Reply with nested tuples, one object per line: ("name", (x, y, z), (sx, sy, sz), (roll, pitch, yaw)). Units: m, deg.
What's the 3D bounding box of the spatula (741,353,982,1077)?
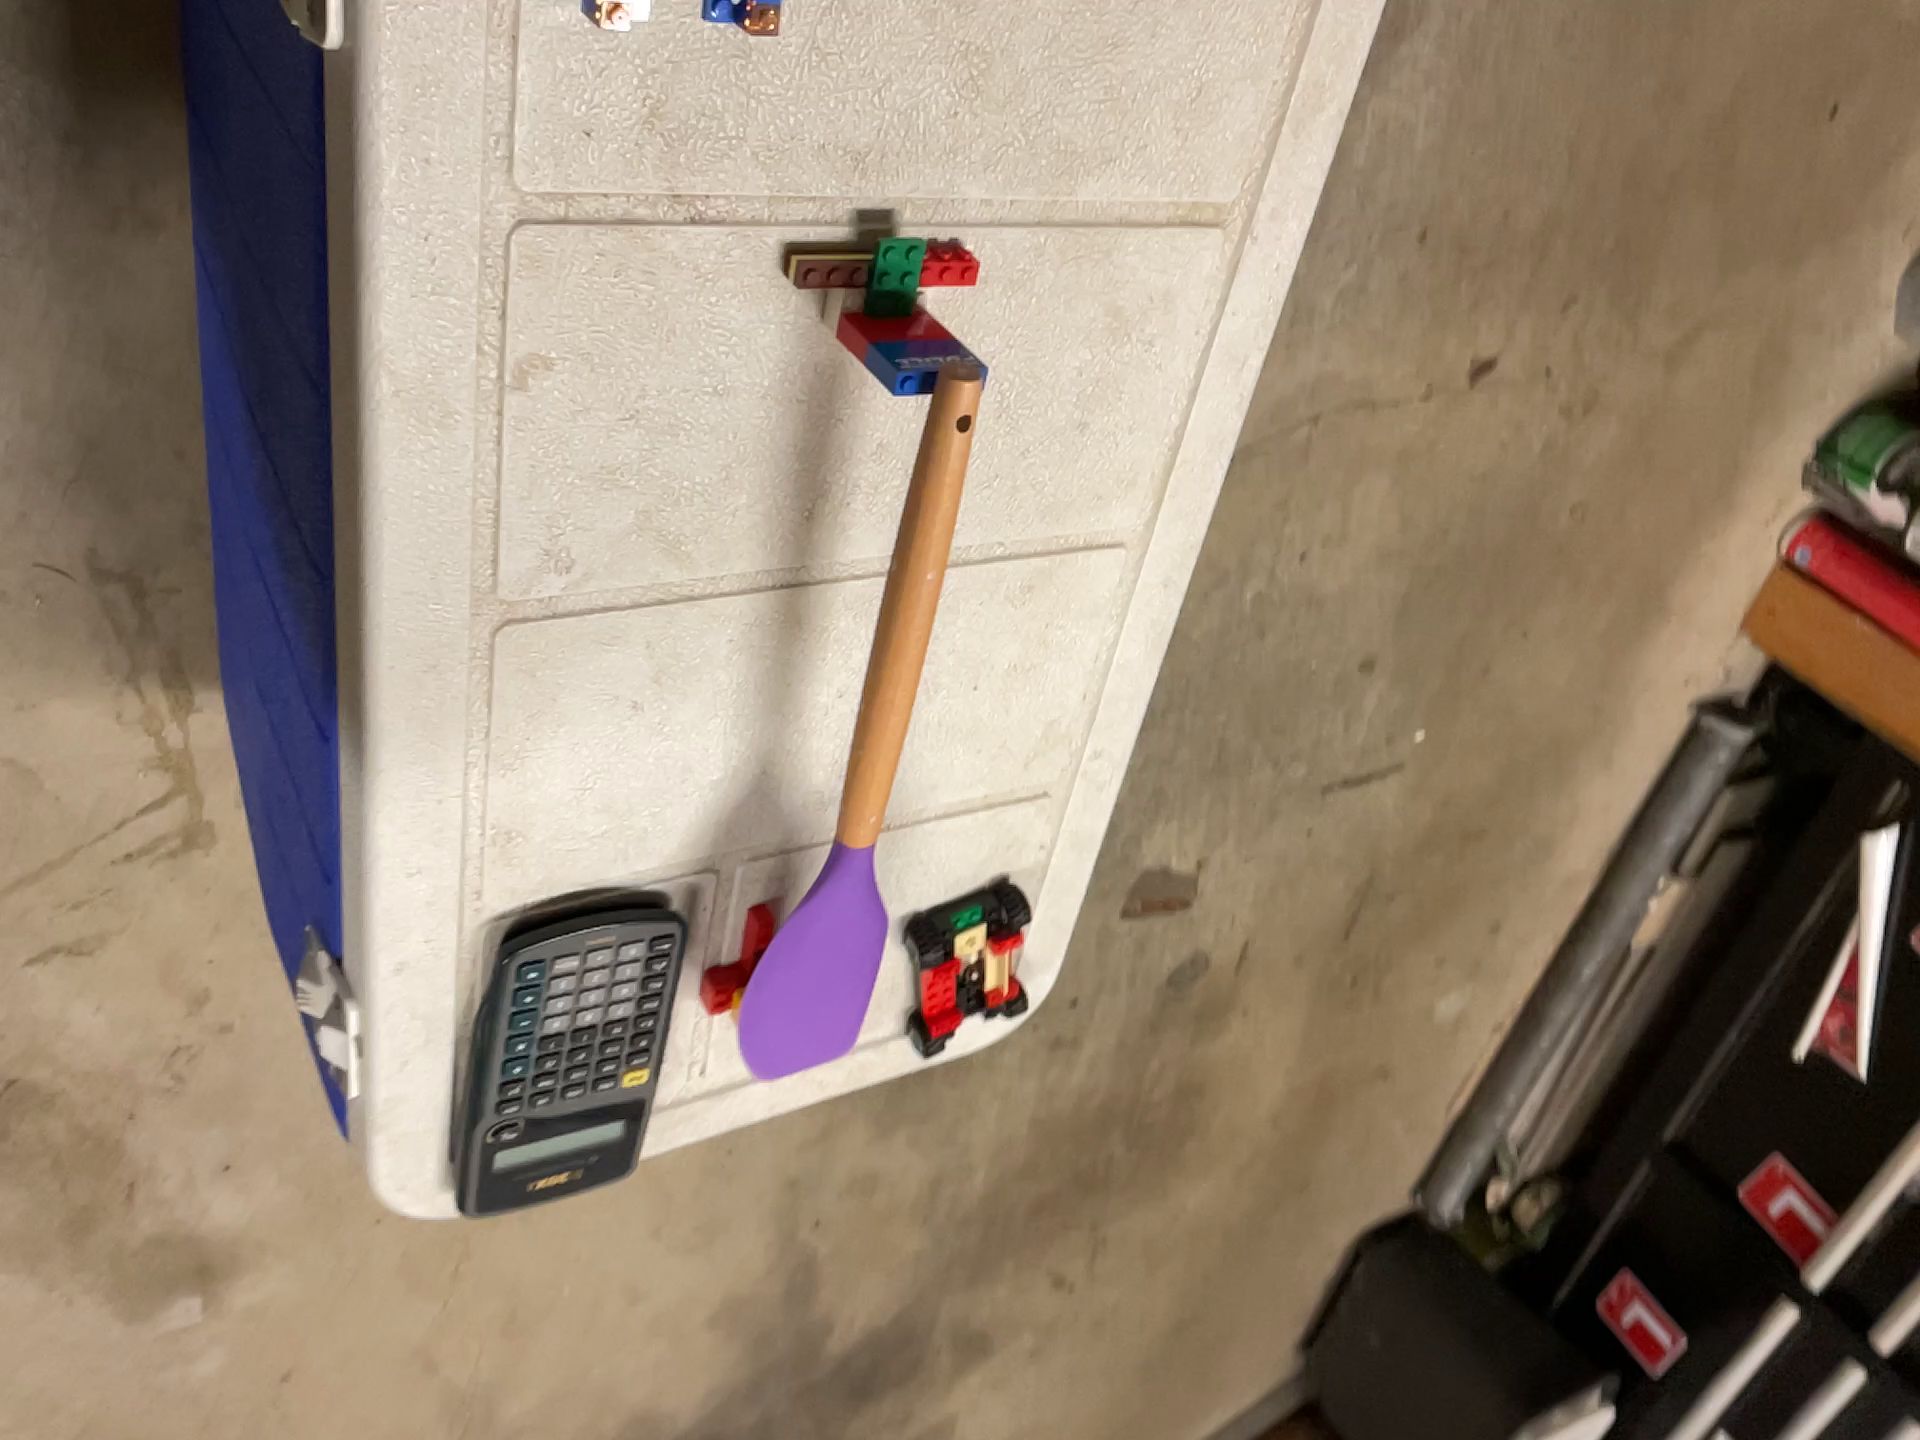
("spatula", (-0.034, 0.019, 0.555), (0.060, 0.018, 0.315), (-11, 133, -32))
